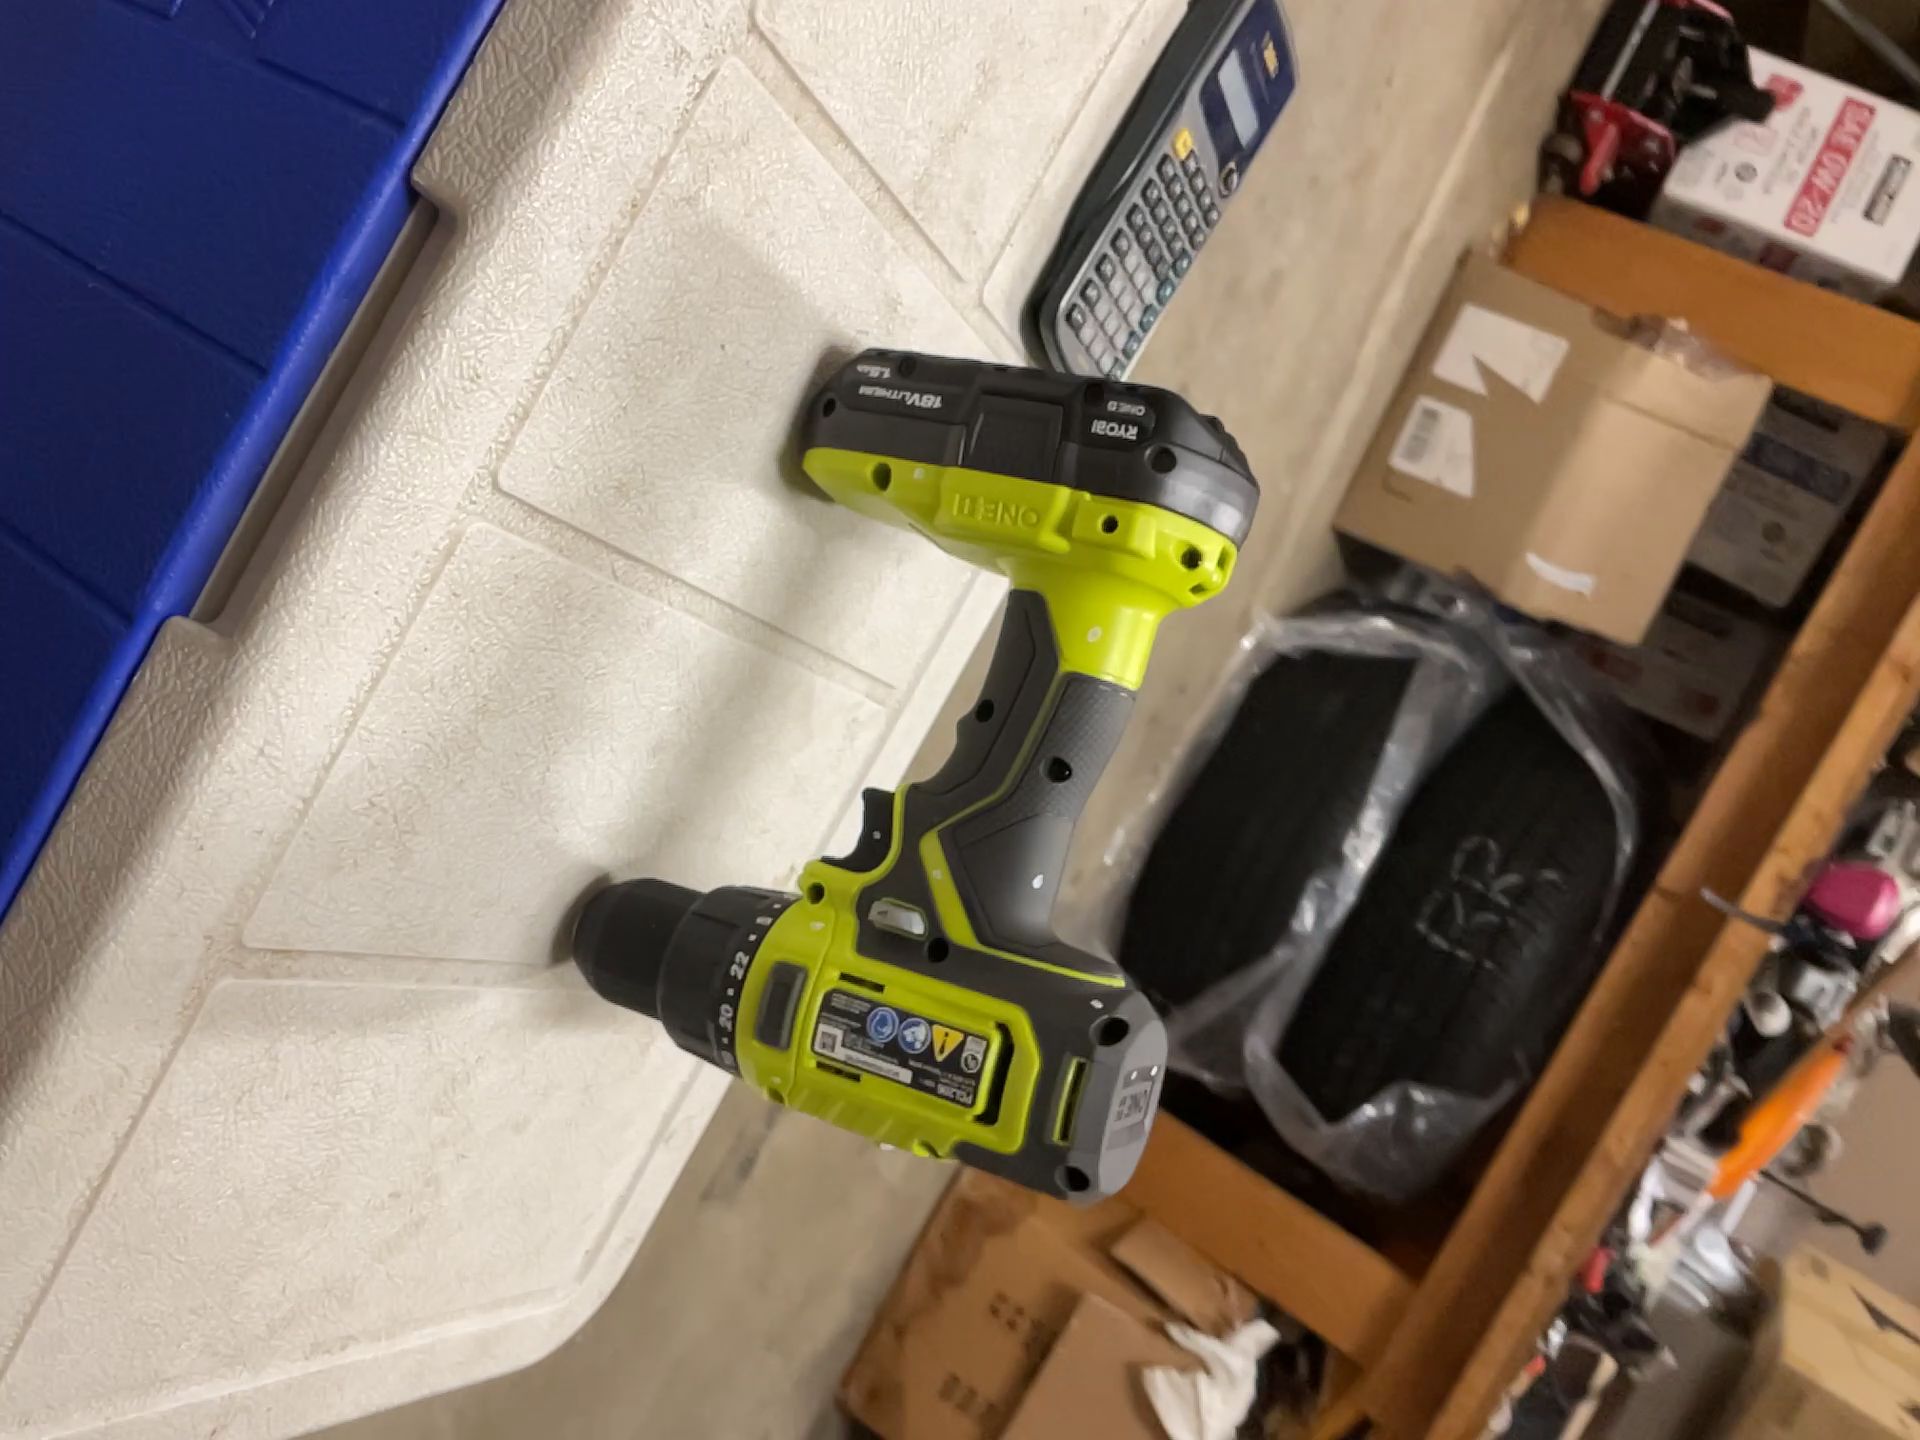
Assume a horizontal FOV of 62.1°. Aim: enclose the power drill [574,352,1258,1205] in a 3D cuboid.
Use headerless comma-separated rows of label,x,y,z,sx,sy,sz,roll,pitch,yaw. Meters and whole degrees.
power drill,-0.015,0.012,0.492,0.080,0.190,0.228,21,83,-66
